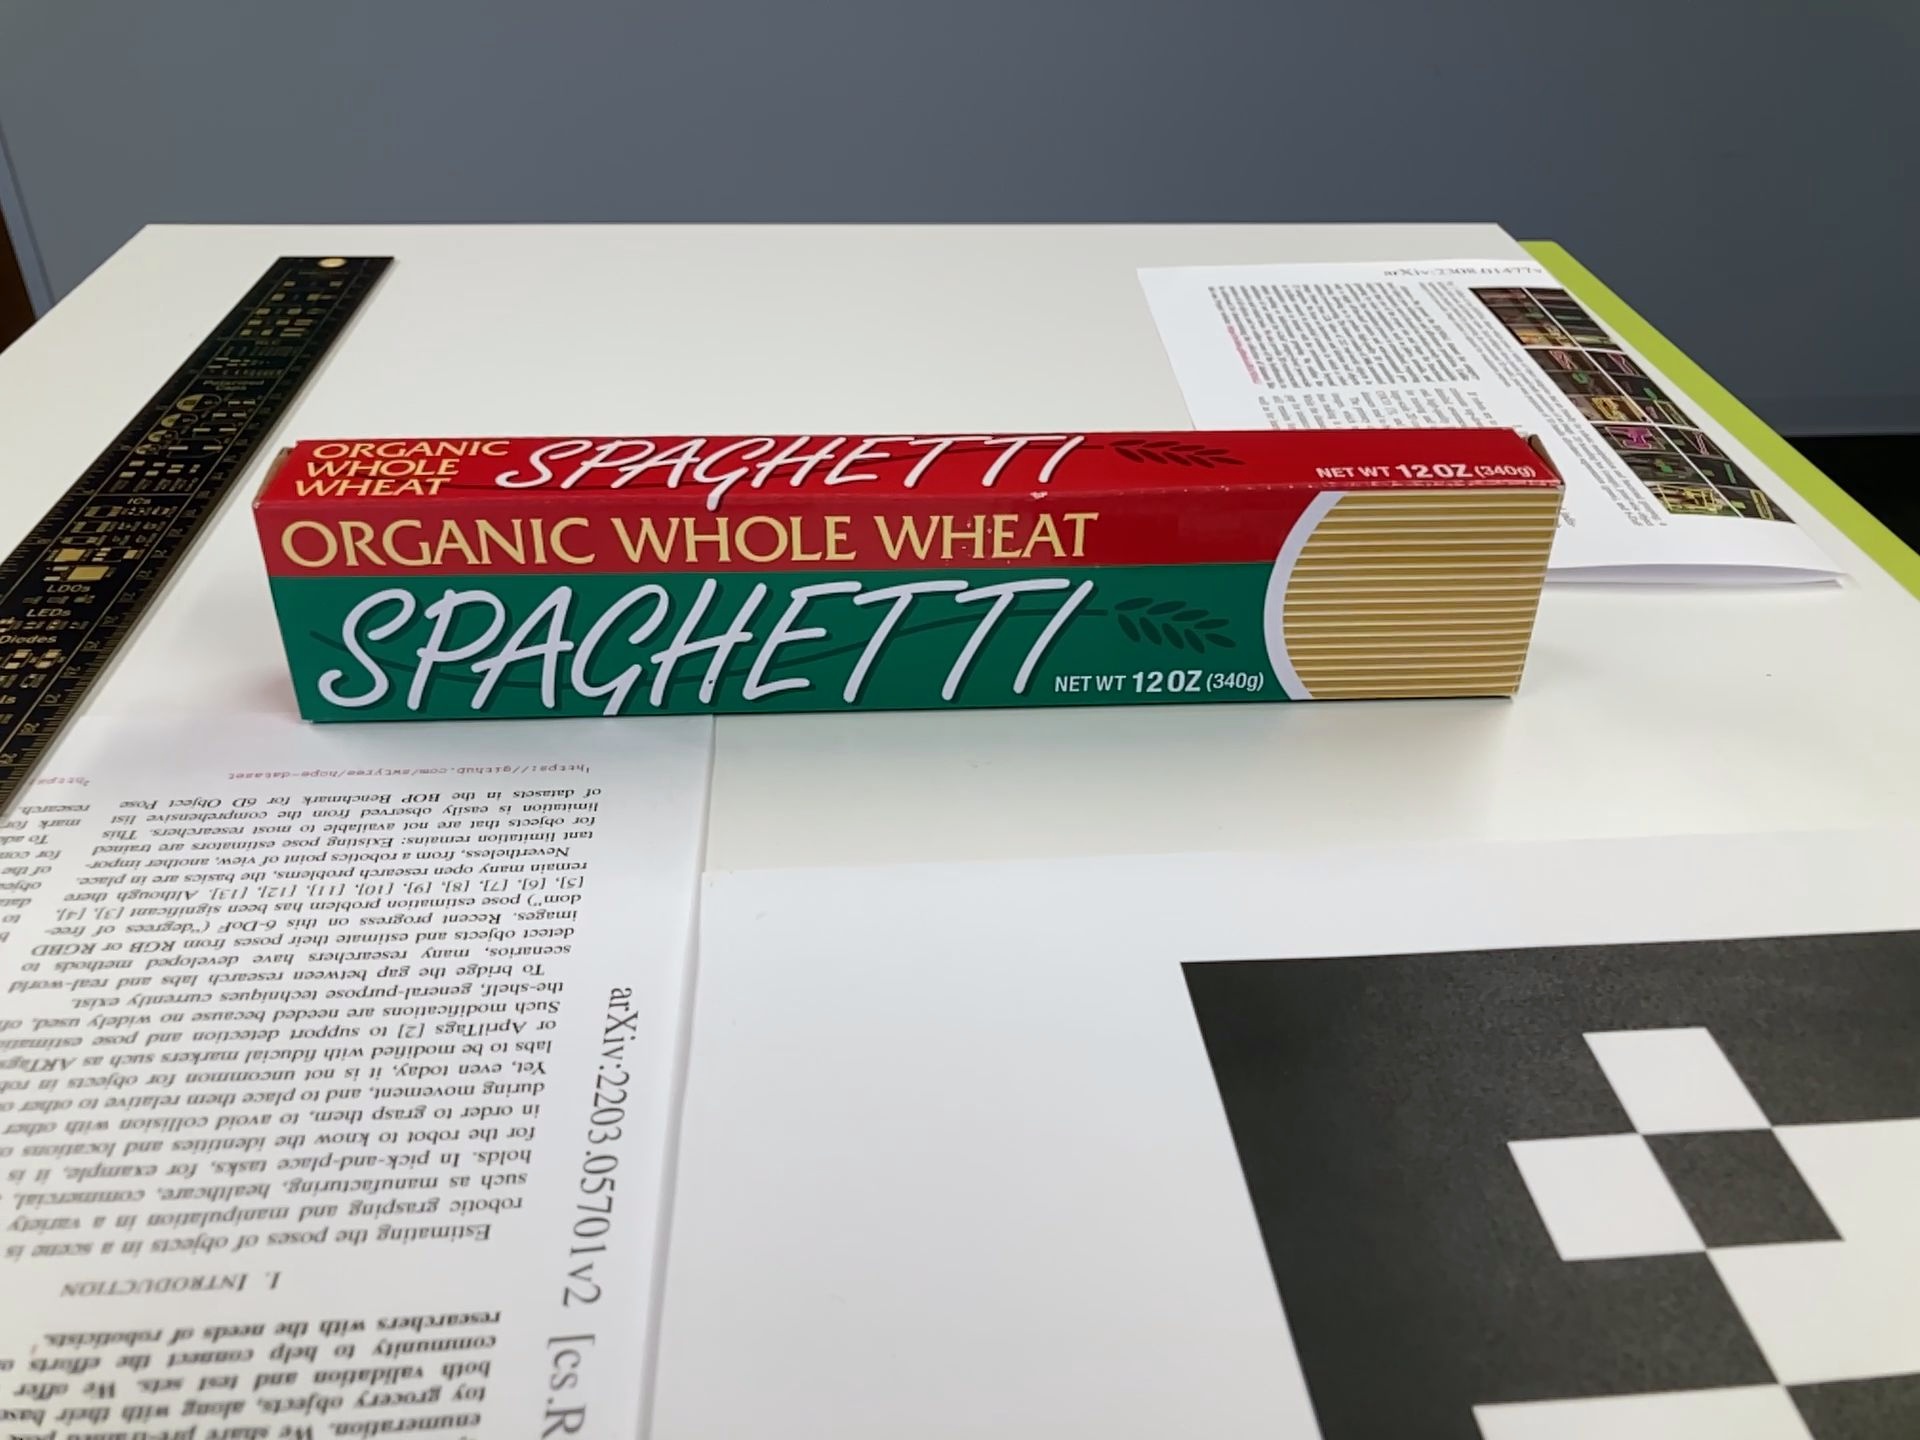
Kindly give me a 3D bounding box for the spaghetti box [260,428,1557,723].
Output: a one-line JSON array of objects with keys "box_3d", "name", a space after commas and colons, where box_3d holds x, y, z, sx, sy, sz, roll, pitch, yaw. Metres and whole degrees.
[{"box_3d": [-0.009, -0.030, 0.321, 0.250, 0.050, 0.028, -2, 32, -4], "name": "spaghetti box"}]
